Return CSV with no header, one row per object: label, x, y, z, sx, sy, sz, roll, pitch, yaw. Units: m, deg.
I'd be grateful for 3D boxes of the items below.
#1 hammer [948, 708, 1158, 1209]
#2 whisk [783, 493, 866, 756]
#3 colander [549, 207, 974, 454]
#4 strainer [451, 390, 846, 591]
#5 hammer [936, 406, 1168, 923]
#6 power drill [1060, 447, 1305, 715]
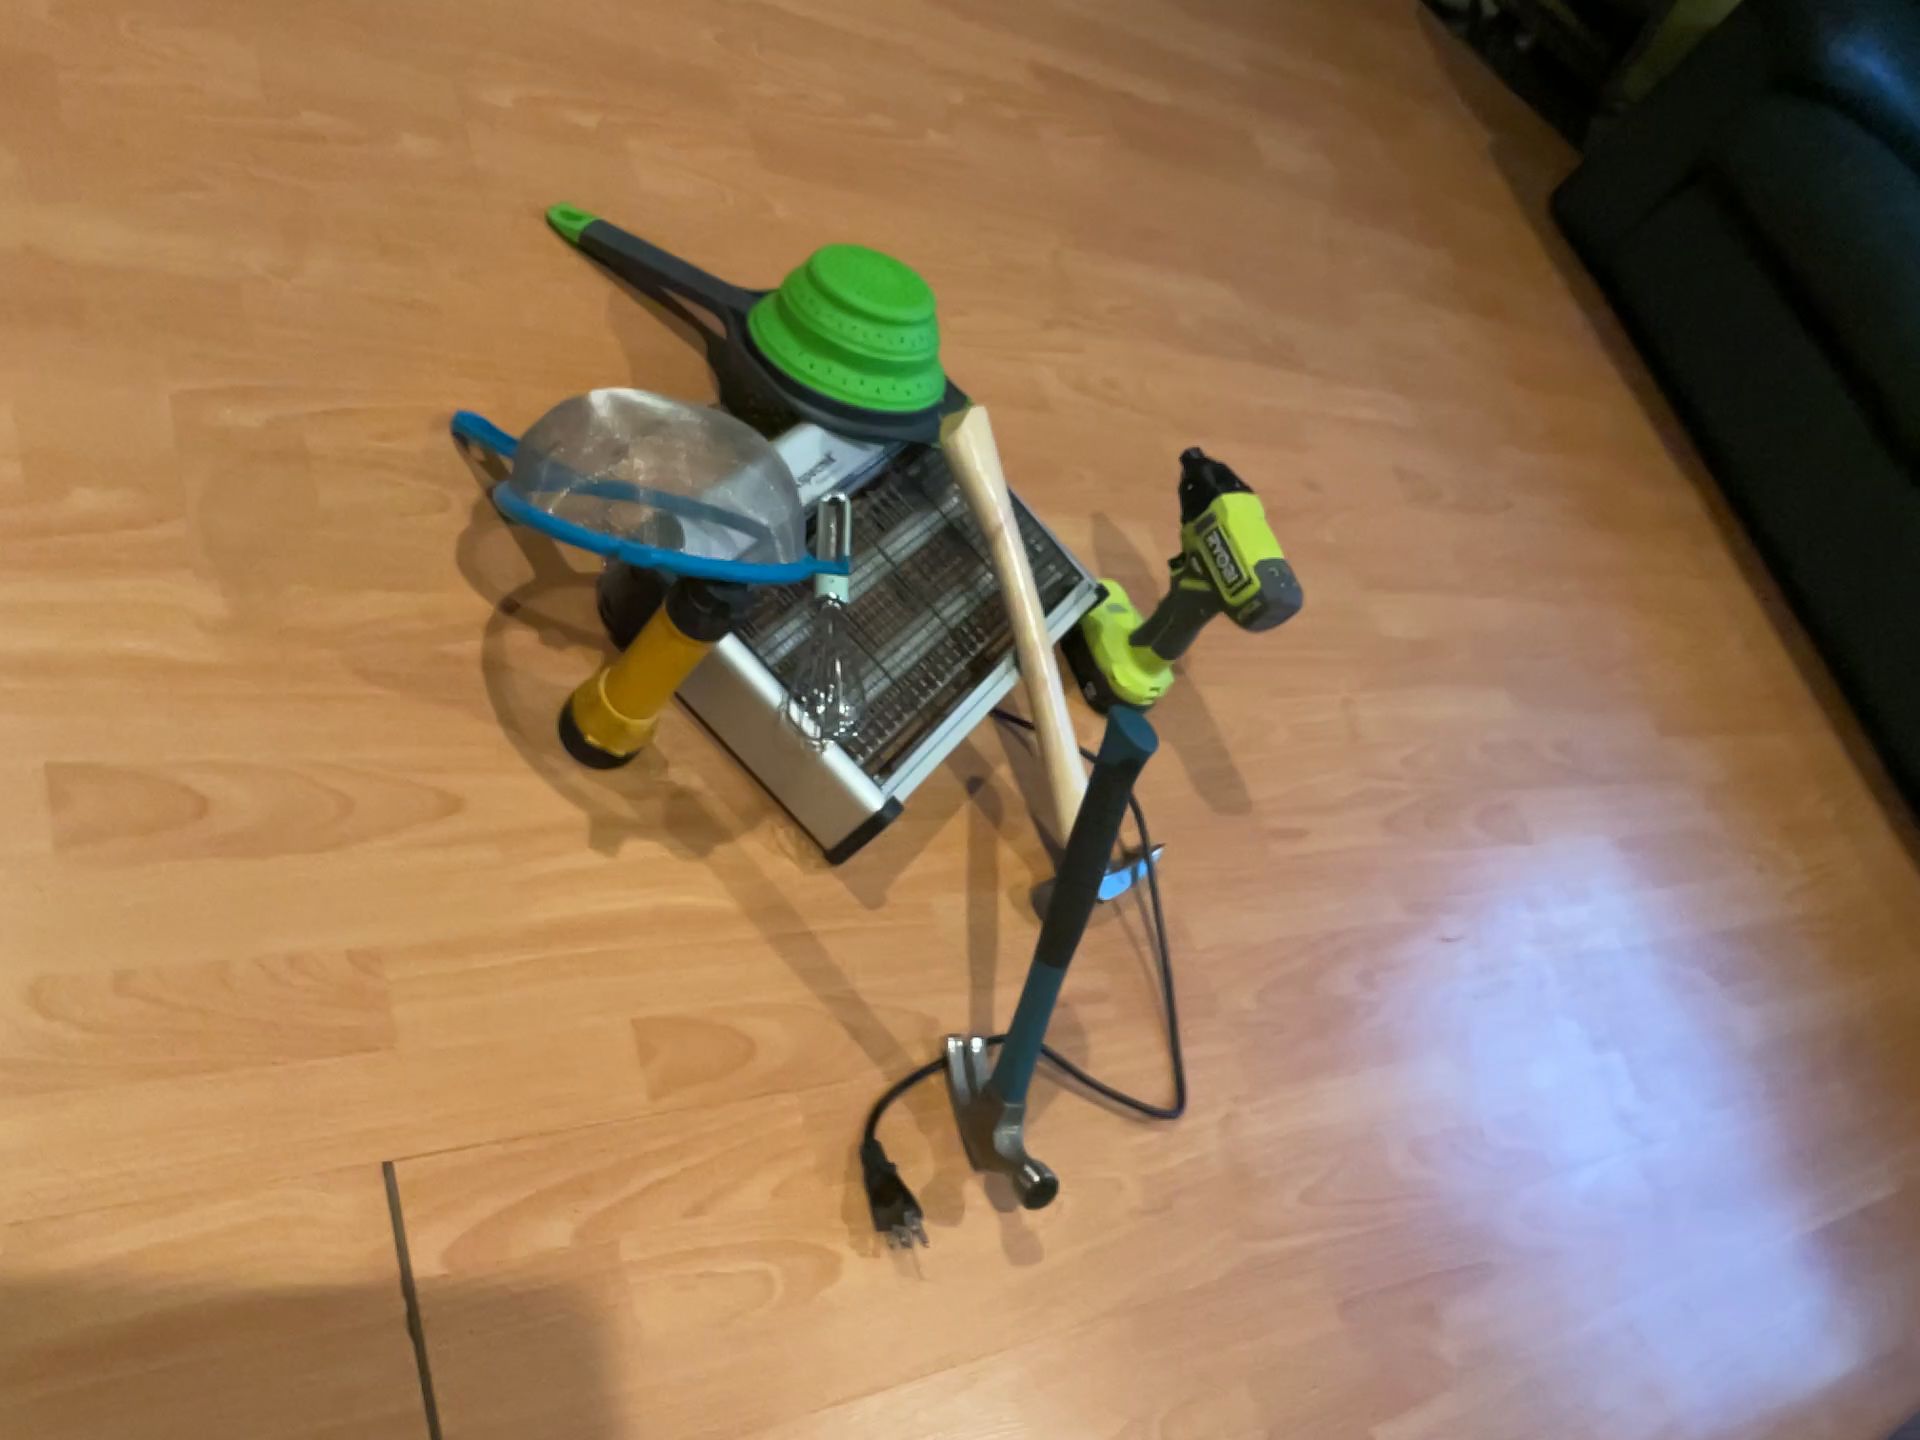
hammer,0.068,0.152,1.082,0.033,0.330,0.128,7,17,-35
whisk,-0.095,-0.077,1.170,0.058,0.059,0.246,1,51,-3
colander,-0.158,-0.364,1.341,0.397,0.094,0.205,28,38,2
strainer,-0.237,-0.188,1.089,0.340,0.095,0.211,30,20,34
hammer,0.066,-0.050,1.291,0.146,0.038,0.410,-24,101,-45
power drill,0.184,-0.116,1.407,0.080,0.223,0.171,-5,64,-41
